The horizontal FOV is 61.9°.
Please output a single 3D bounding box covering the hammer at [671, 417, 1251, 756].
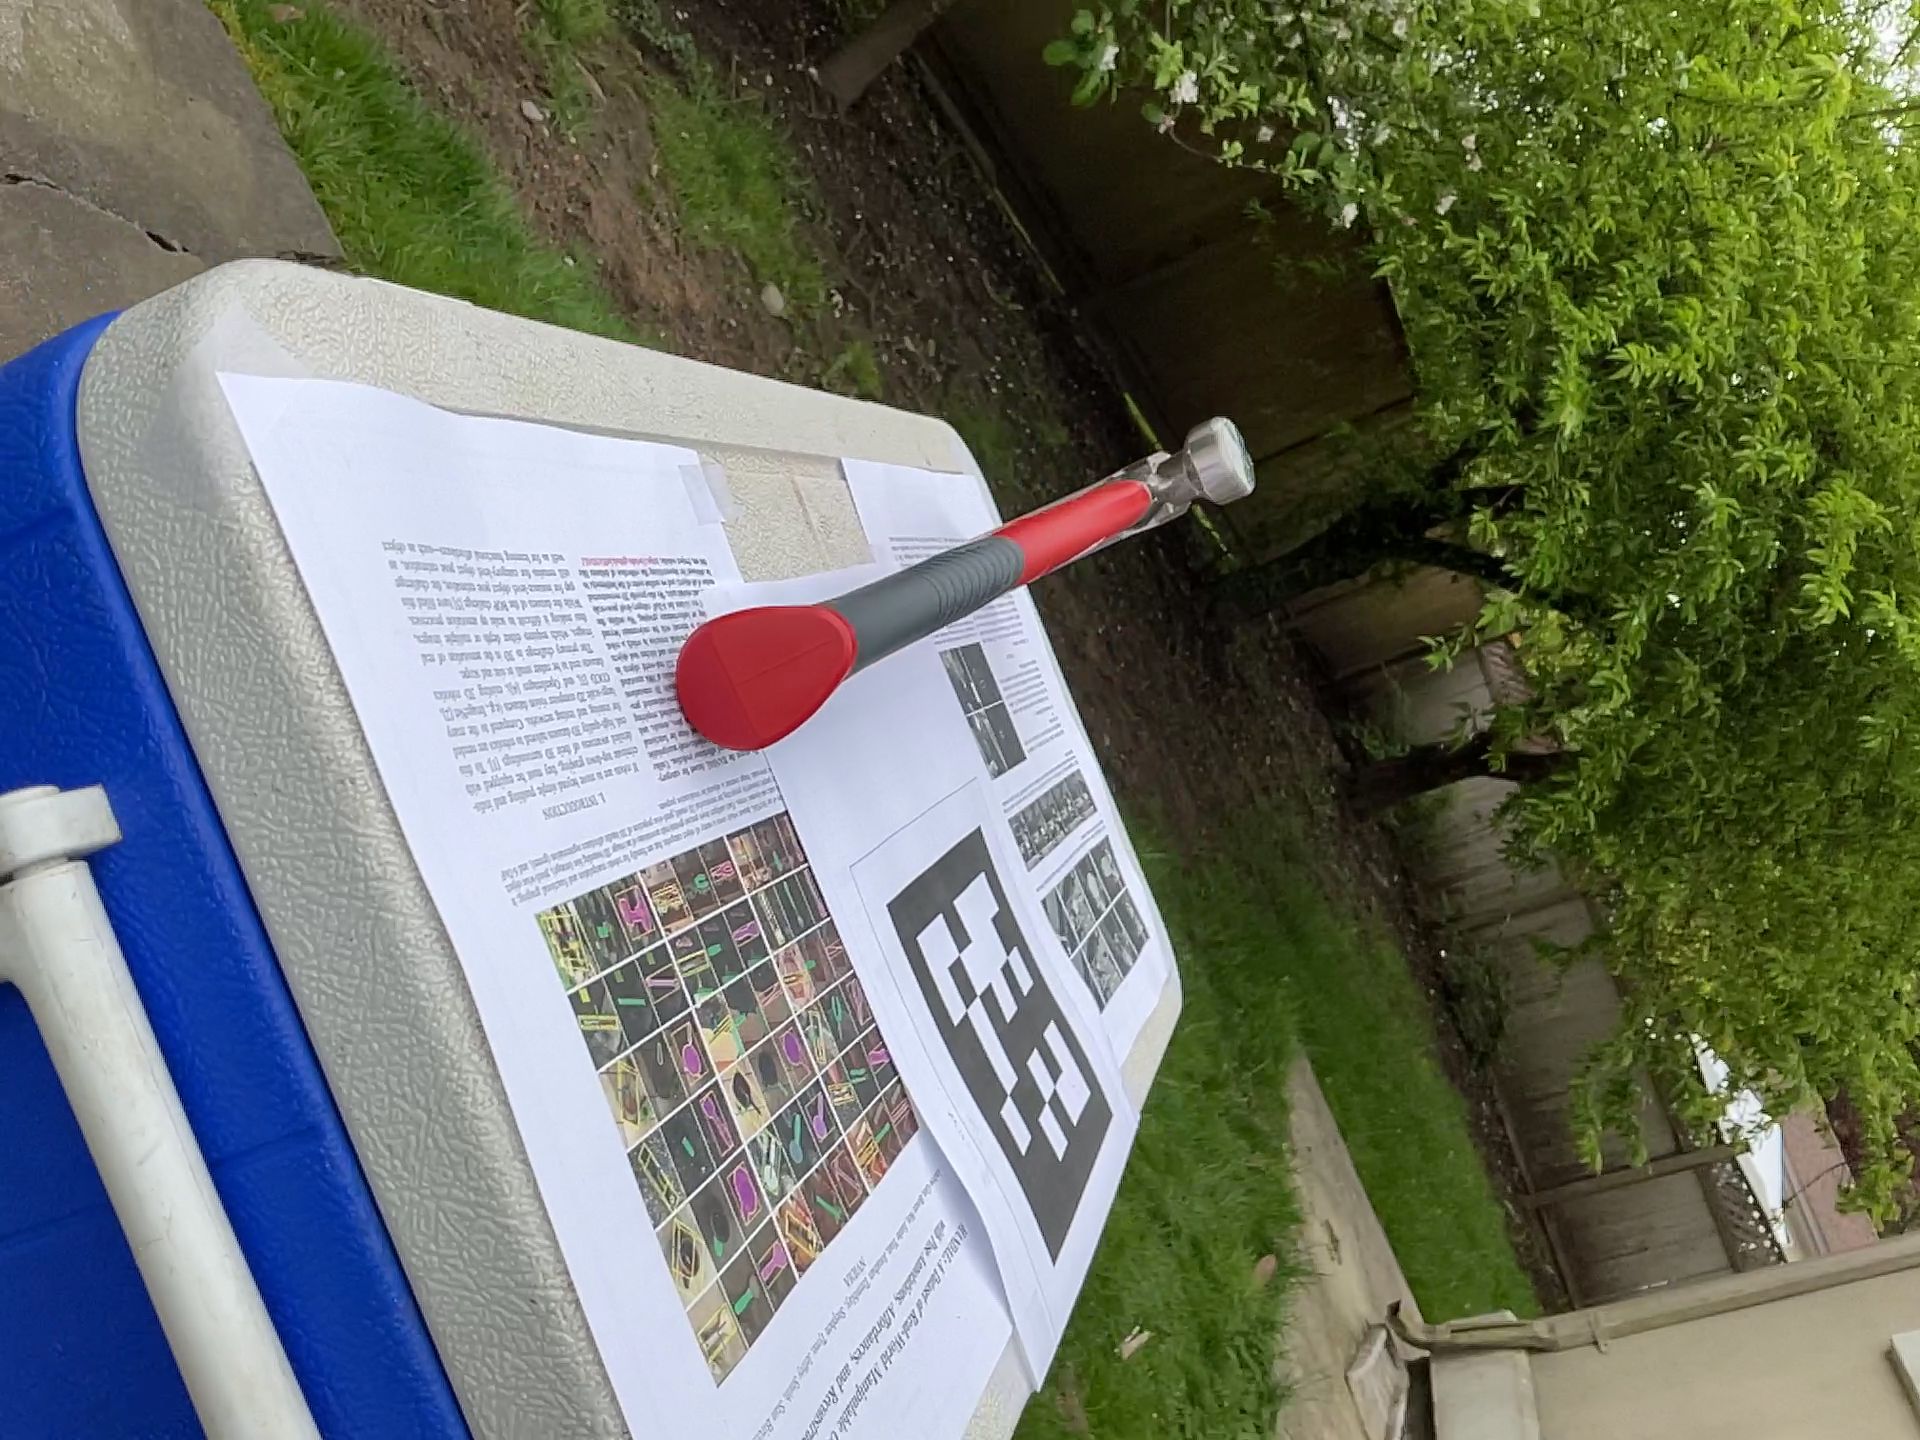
[{"bbox_3d":[-0.002,-0.051,0.595,0.038,0.143,0.386,66,27,-5],"label":"hammer"}]
